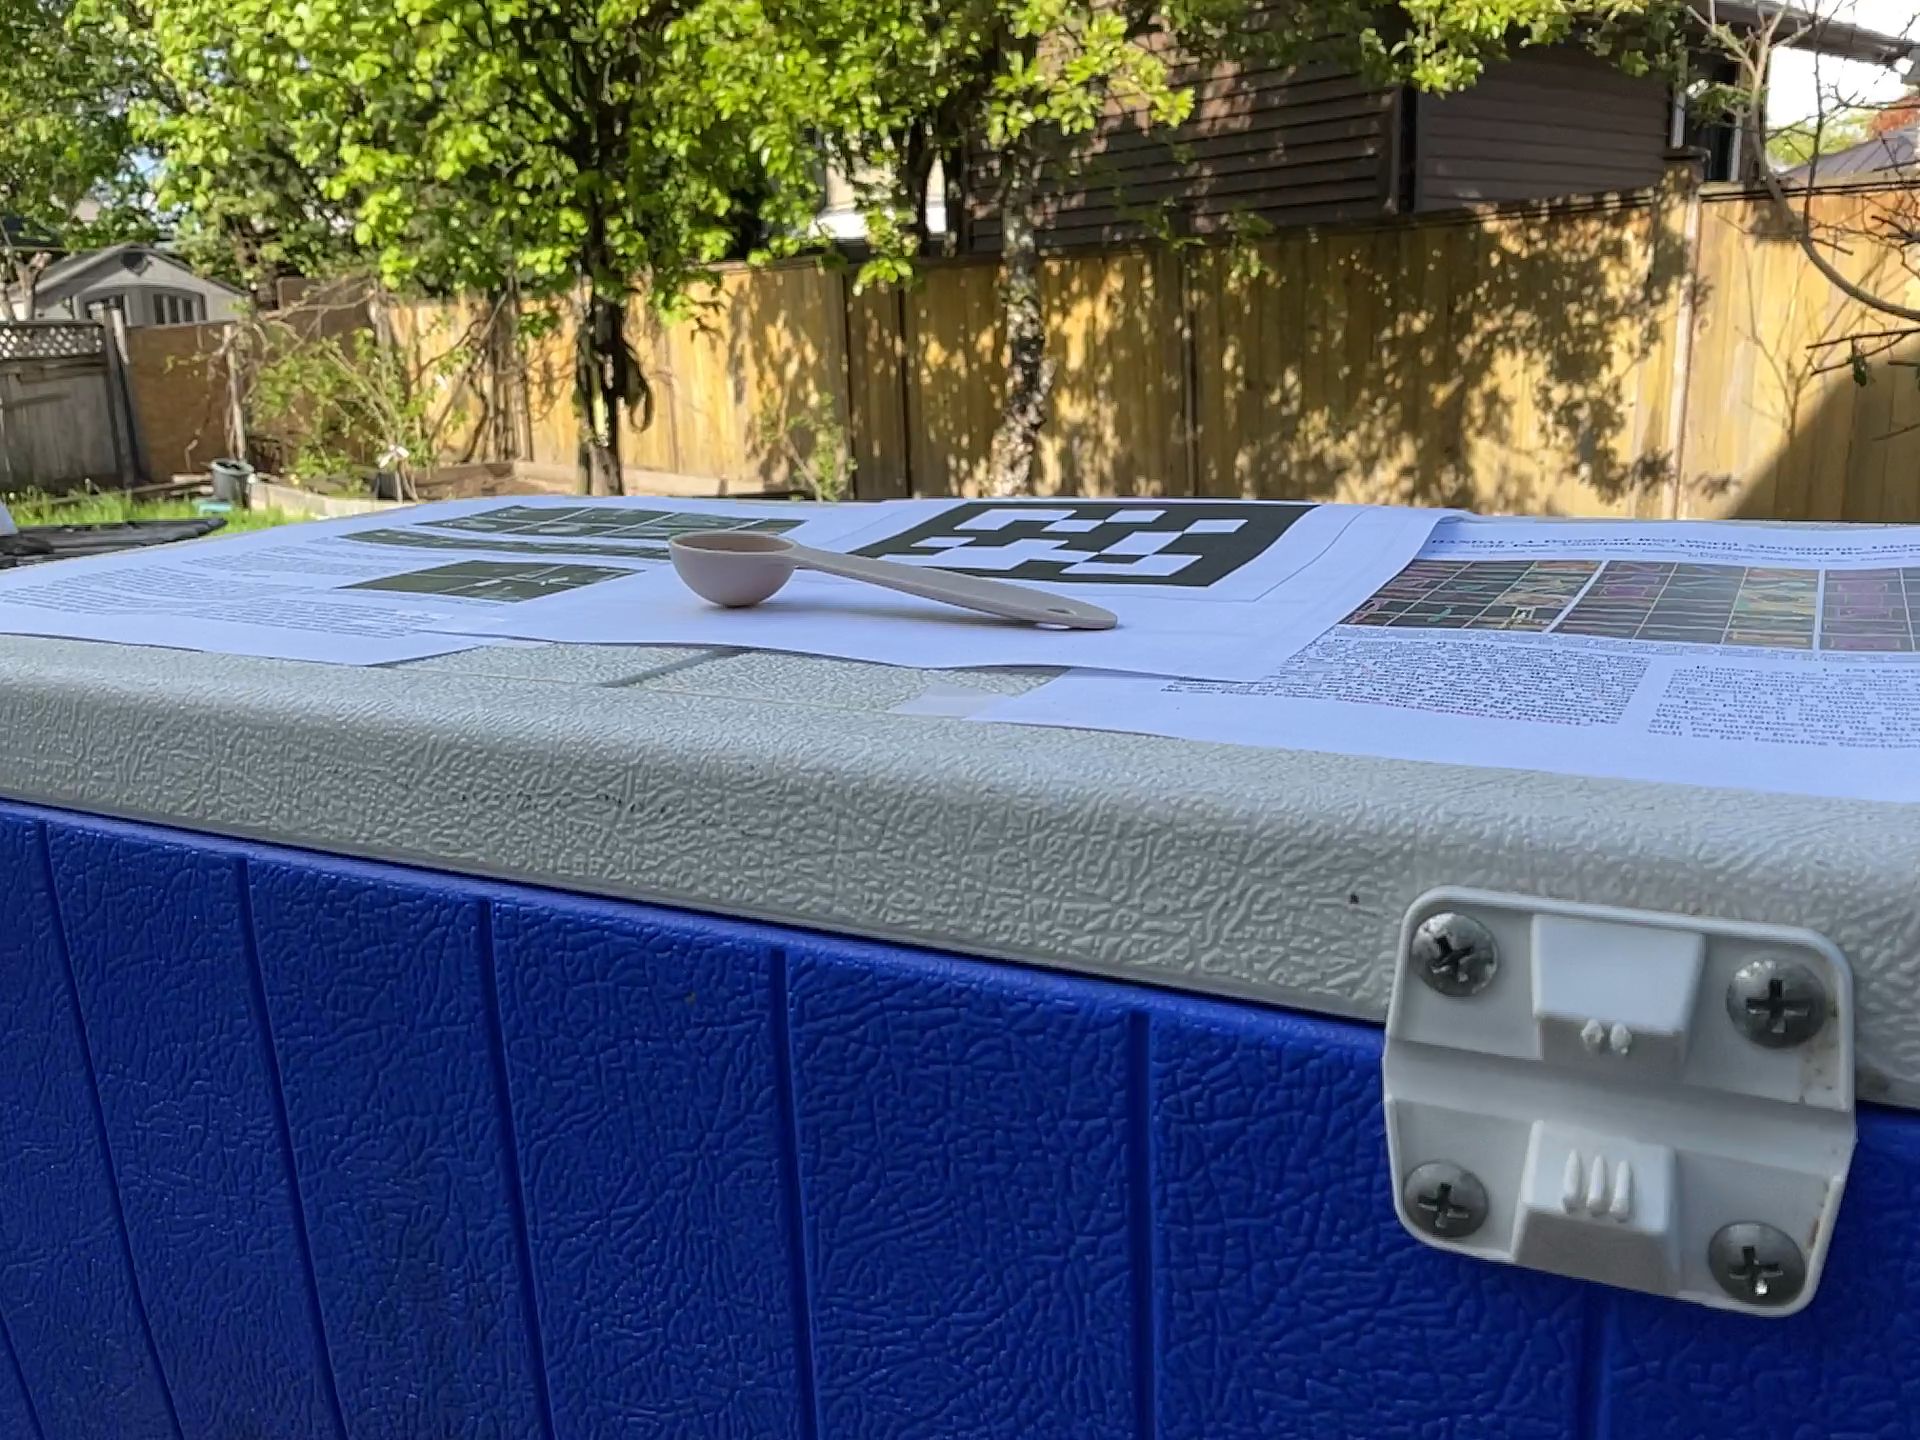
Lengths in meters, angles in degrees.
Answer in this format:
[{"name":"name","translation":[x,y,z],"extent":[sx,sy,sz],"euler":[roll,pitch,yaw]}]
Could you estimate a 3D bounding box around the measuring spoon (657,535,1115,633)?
[{"name":"measuring spoon","translation":[-0.021,-0.029,0.394],"extent":[0.124,0.018,0.034],"euler":[12,17,24]}]
